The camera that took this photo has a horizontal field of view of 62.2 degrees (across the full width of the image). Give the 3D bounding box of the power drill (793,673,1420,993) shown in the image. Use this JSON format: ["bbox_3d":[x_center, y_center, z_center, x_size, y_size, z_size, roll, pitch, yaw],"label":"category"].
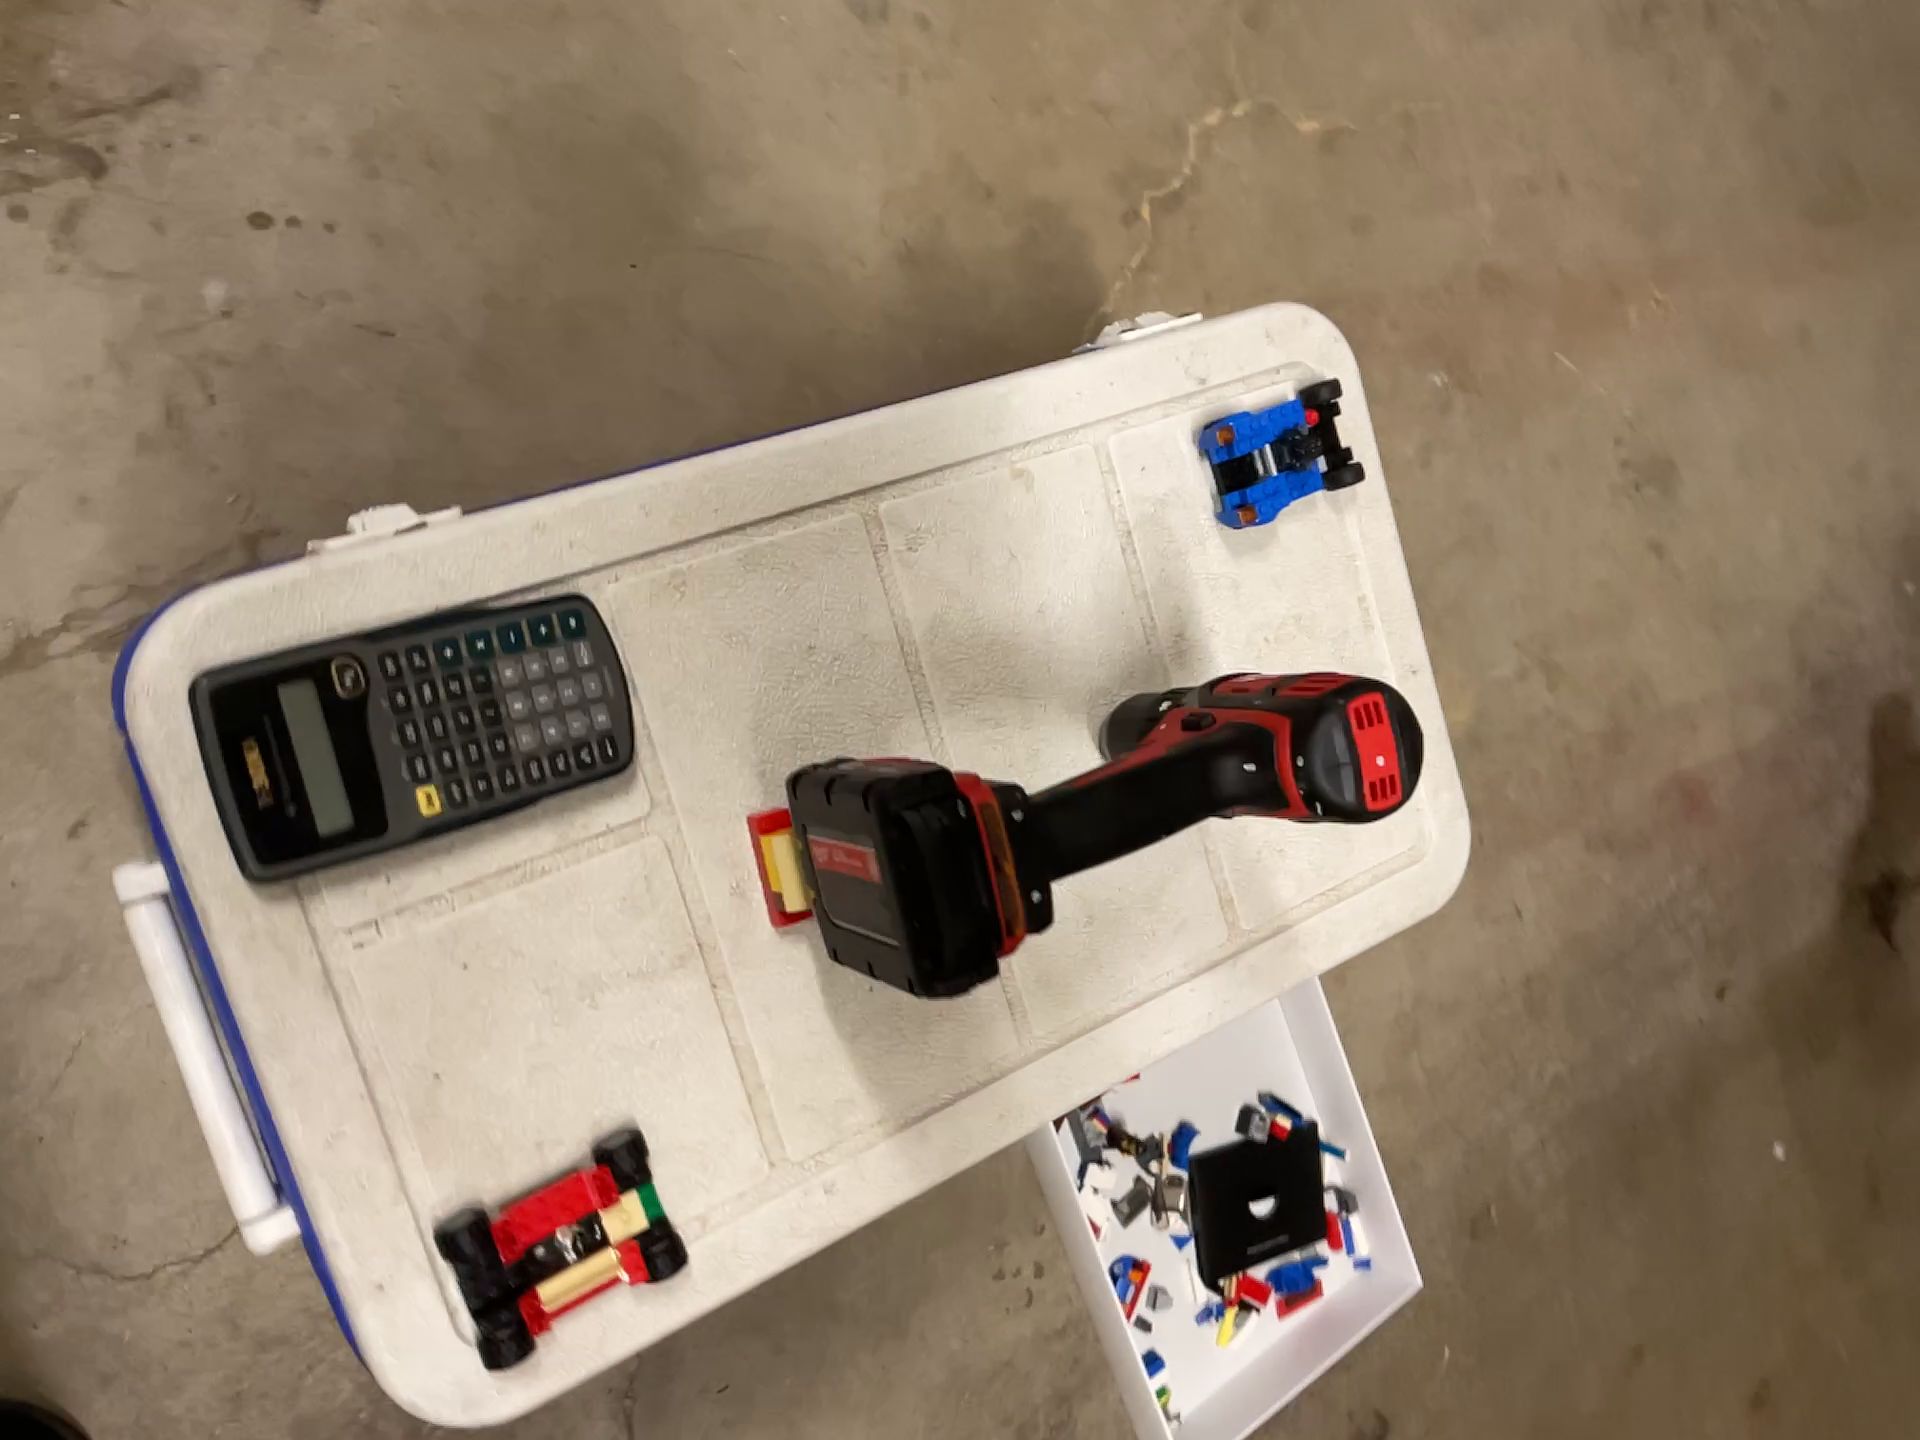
[{"bbox_3d":[0.050,0.032,0.662,0.227,0.188,0.080,-16,96,-24],"label":"power drill"}]
